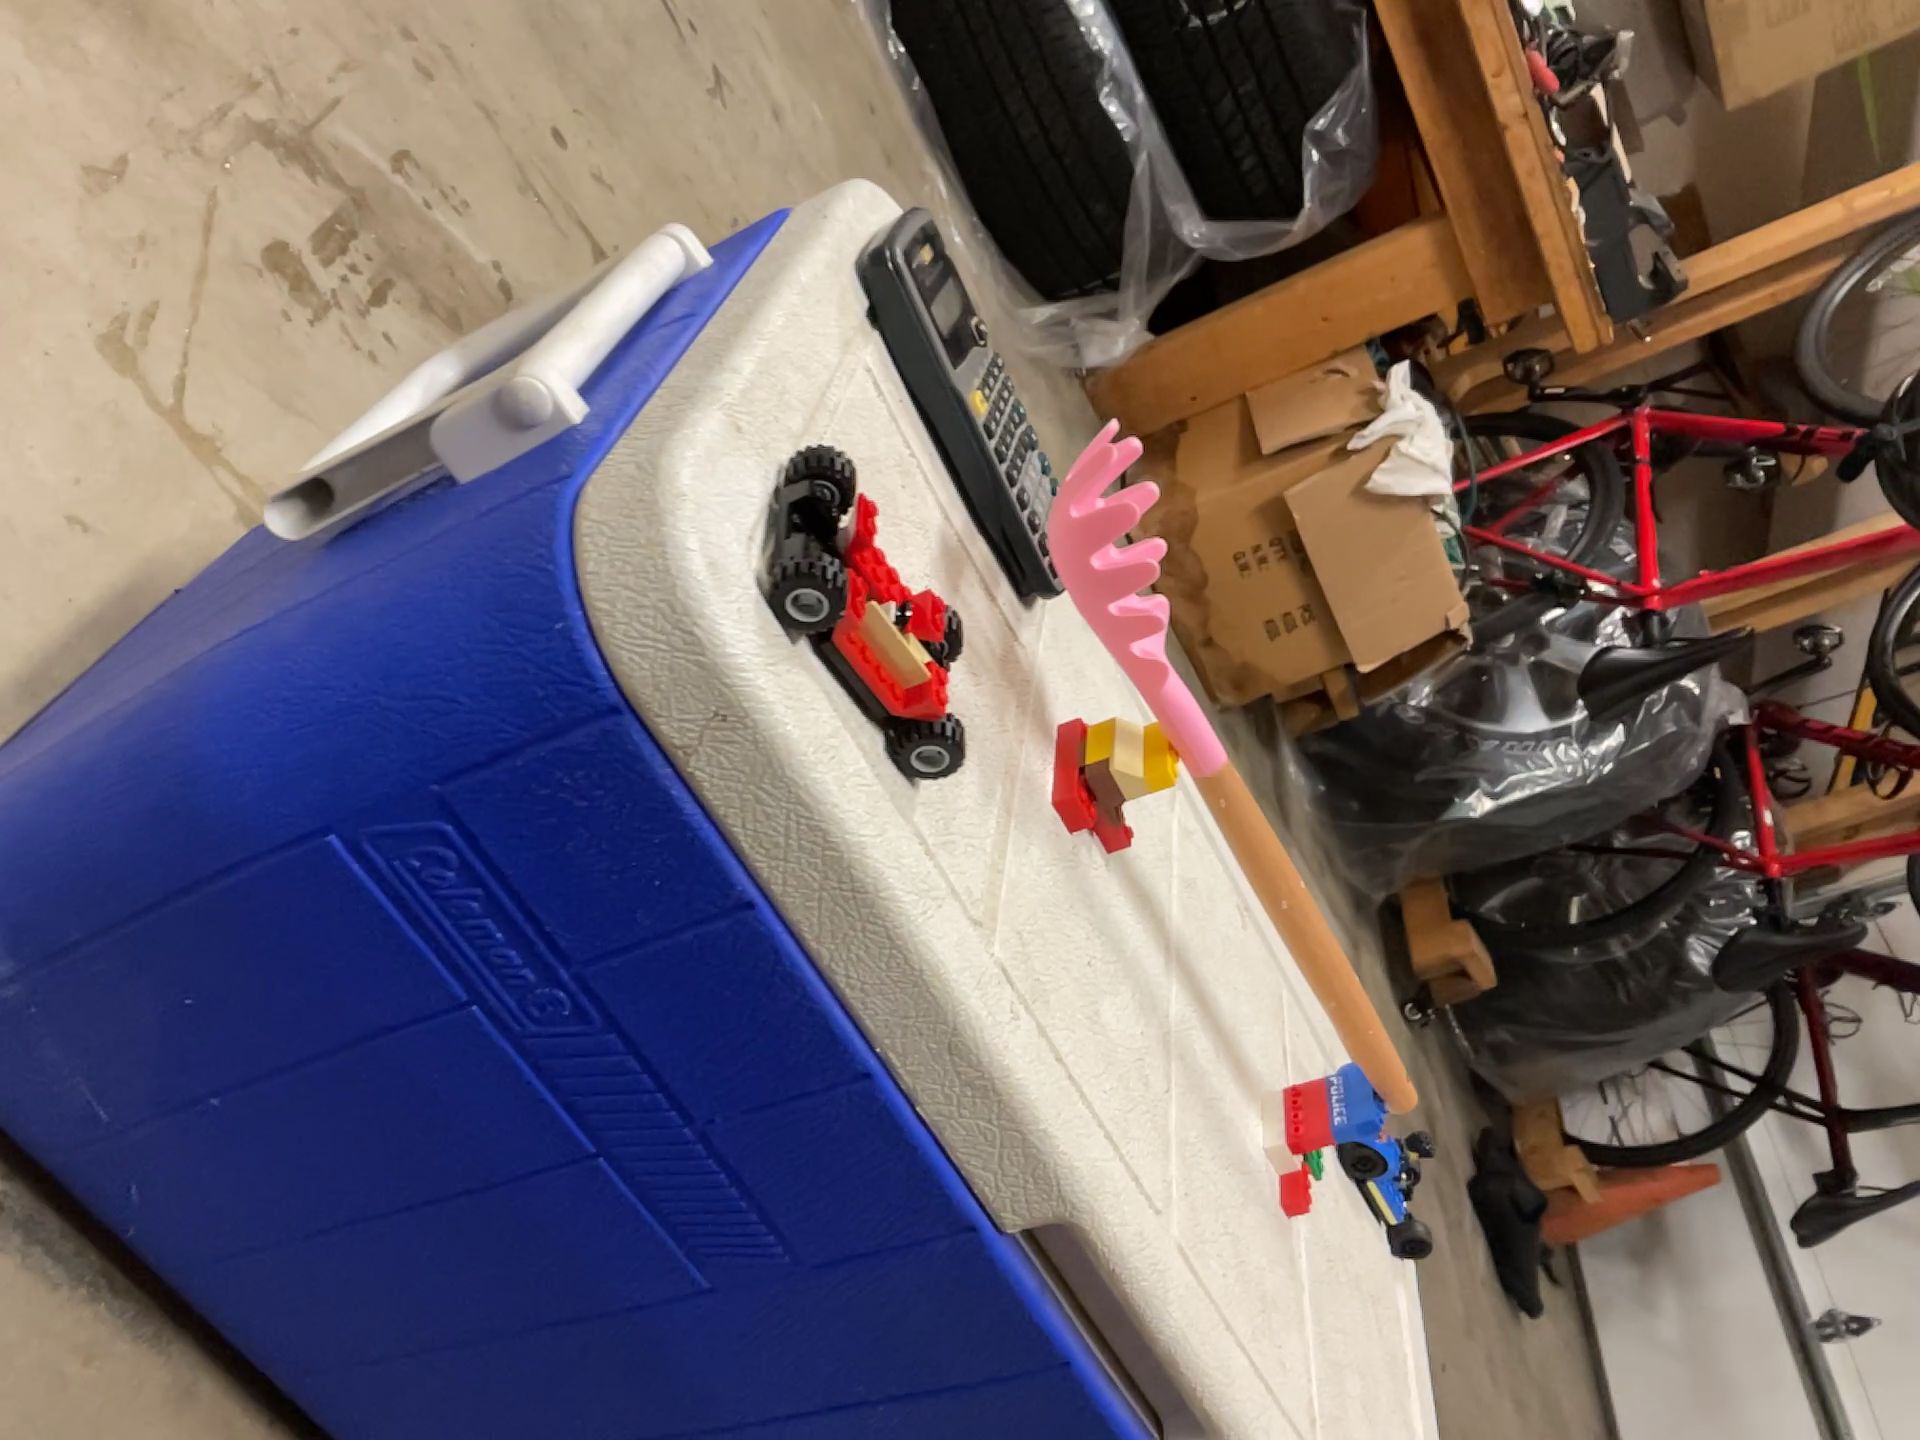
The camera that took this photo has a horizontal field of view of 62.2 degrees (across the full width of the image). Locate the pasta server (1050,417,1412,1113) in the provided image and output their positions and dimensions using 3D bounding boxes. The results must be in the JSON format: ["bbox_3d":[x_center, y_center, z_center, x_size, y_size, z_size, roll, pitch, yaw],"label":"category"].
[{"bbox_3d":[0.109,0.034,0.584,0.316,0.040,0.060,58,23,-25],"label":"pasta server"}]
